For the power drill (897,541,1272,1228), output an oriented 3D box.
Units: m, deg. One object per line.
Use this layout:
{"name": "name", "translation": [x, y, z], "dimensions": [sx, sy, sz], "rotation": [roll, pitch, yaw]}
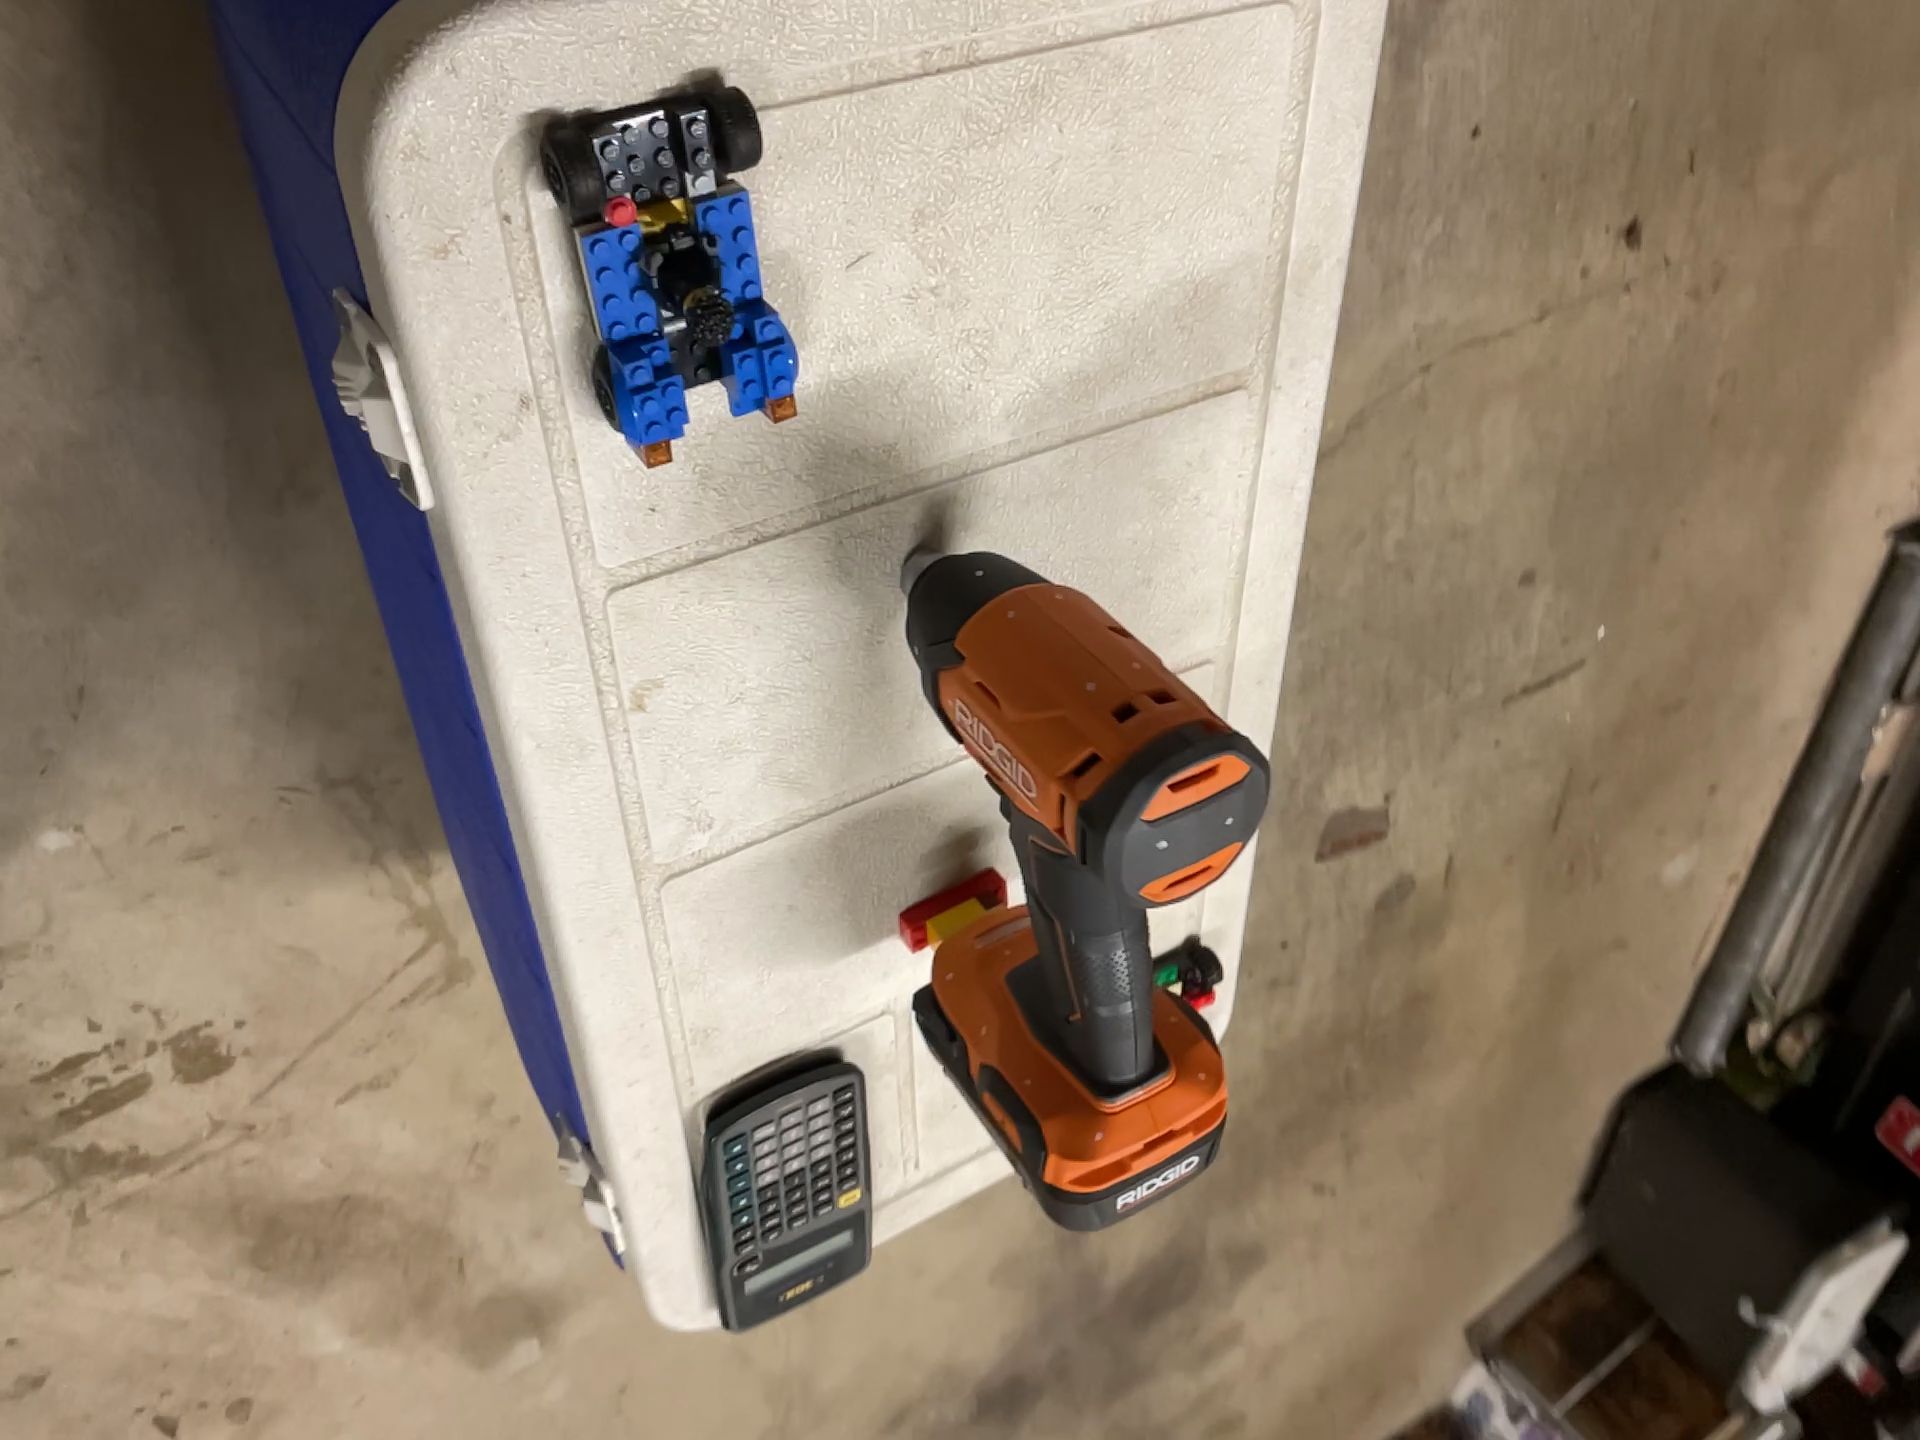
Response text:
{"name": "power drill", "translation": [0.029, 0.051, 0.557], "dimensions": [0.084, 0.164, 0.226], "rotation": [-22, 134, -21]}
